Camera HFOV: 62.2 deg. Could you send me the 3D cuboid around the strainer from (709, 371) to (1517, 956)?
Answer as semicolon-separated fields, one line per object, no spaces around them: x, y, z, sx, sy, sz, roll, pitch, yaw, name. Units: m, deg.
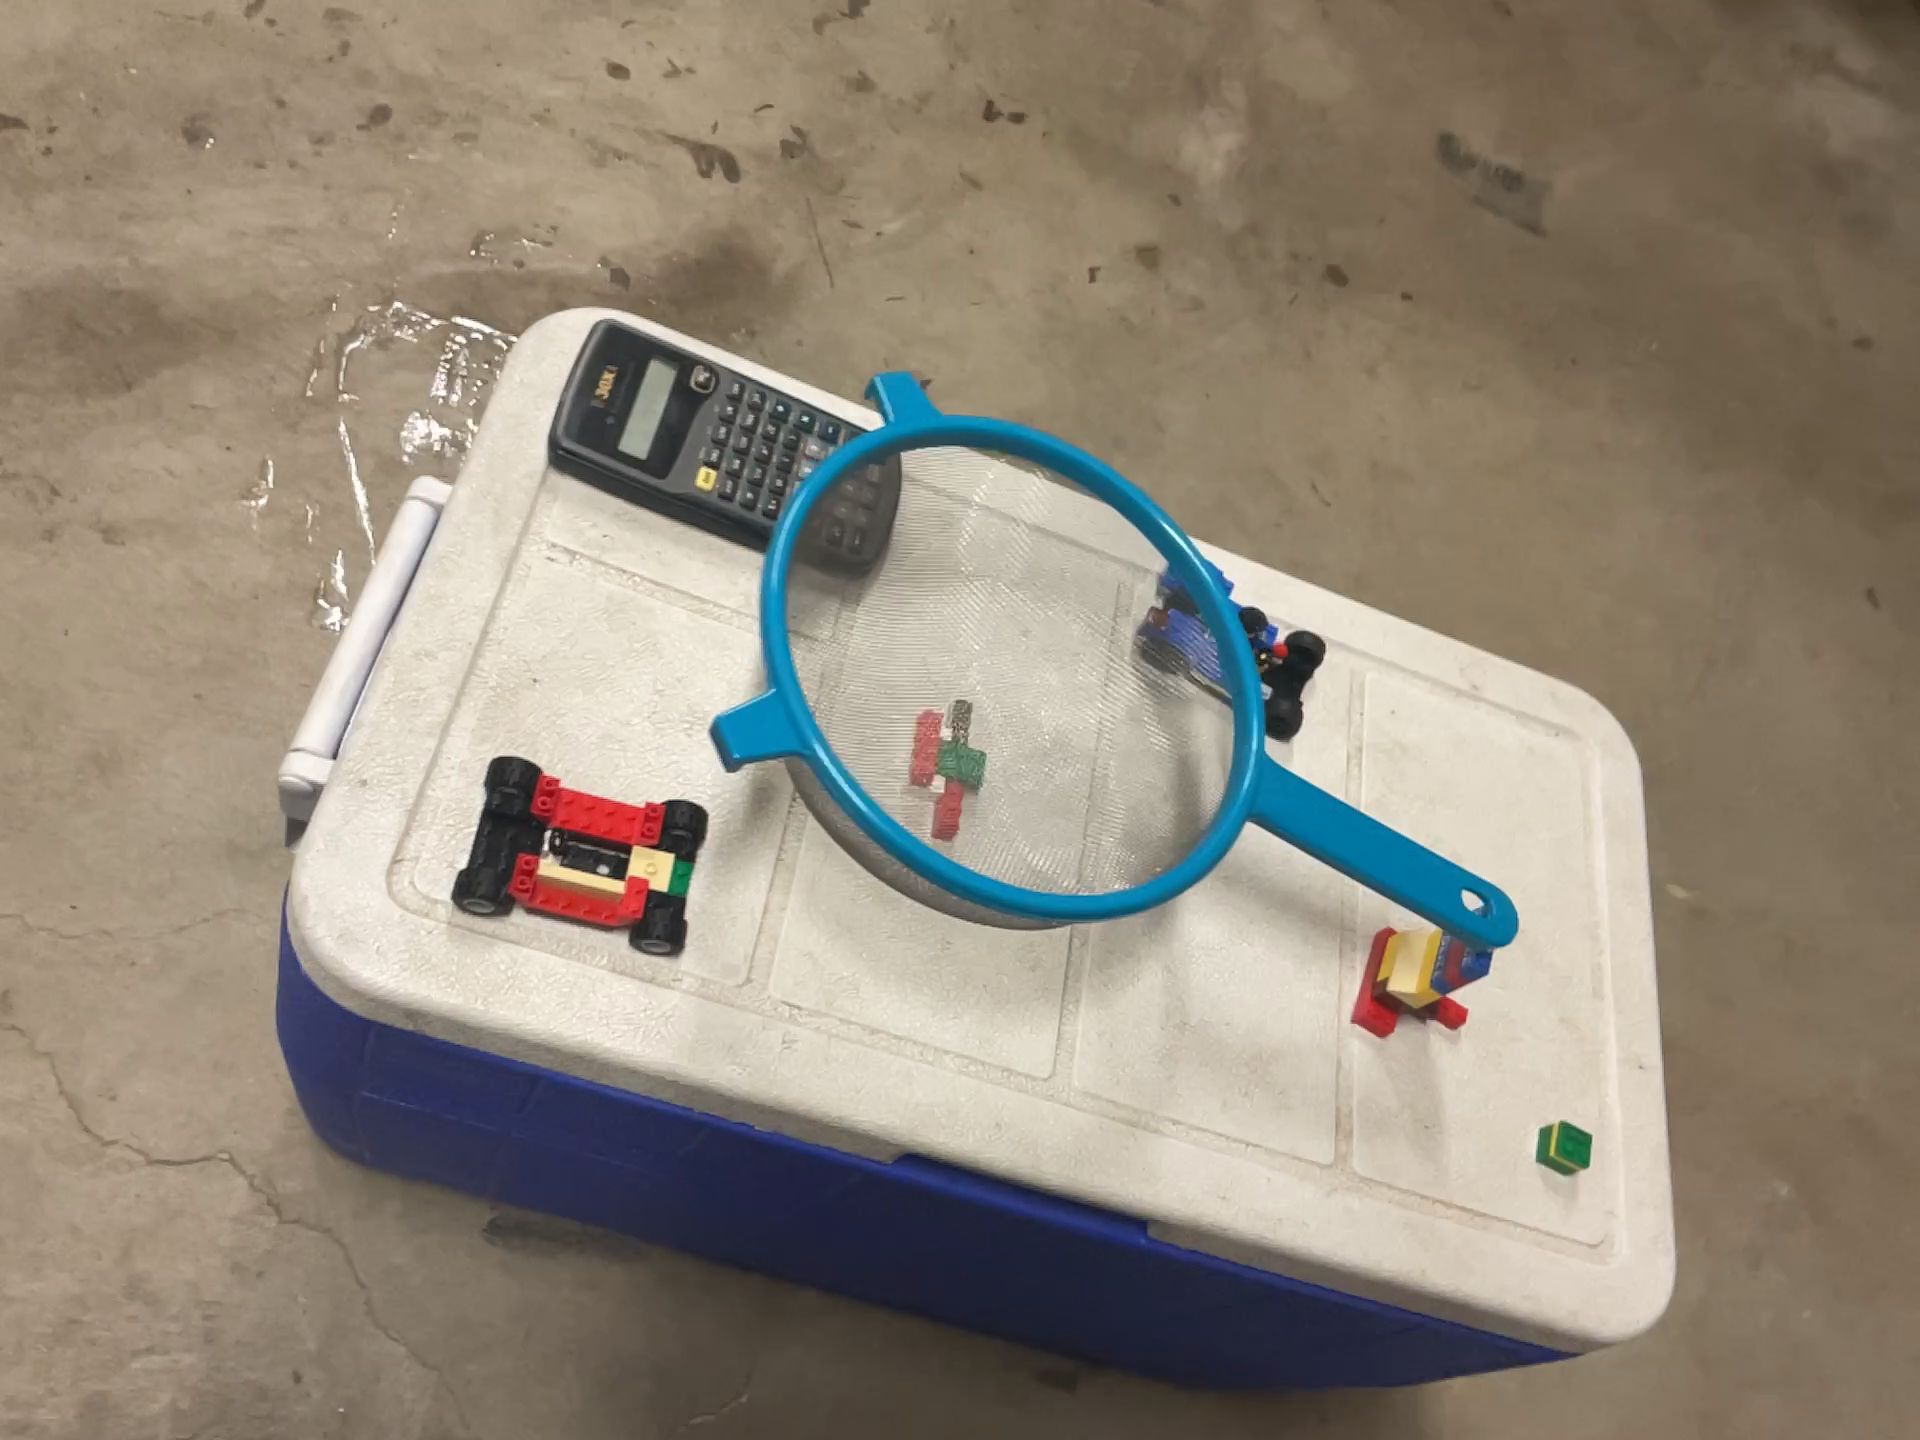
0.063;0.022;0.641;0.340;0.095;0.211;29;54;-14;strainer
